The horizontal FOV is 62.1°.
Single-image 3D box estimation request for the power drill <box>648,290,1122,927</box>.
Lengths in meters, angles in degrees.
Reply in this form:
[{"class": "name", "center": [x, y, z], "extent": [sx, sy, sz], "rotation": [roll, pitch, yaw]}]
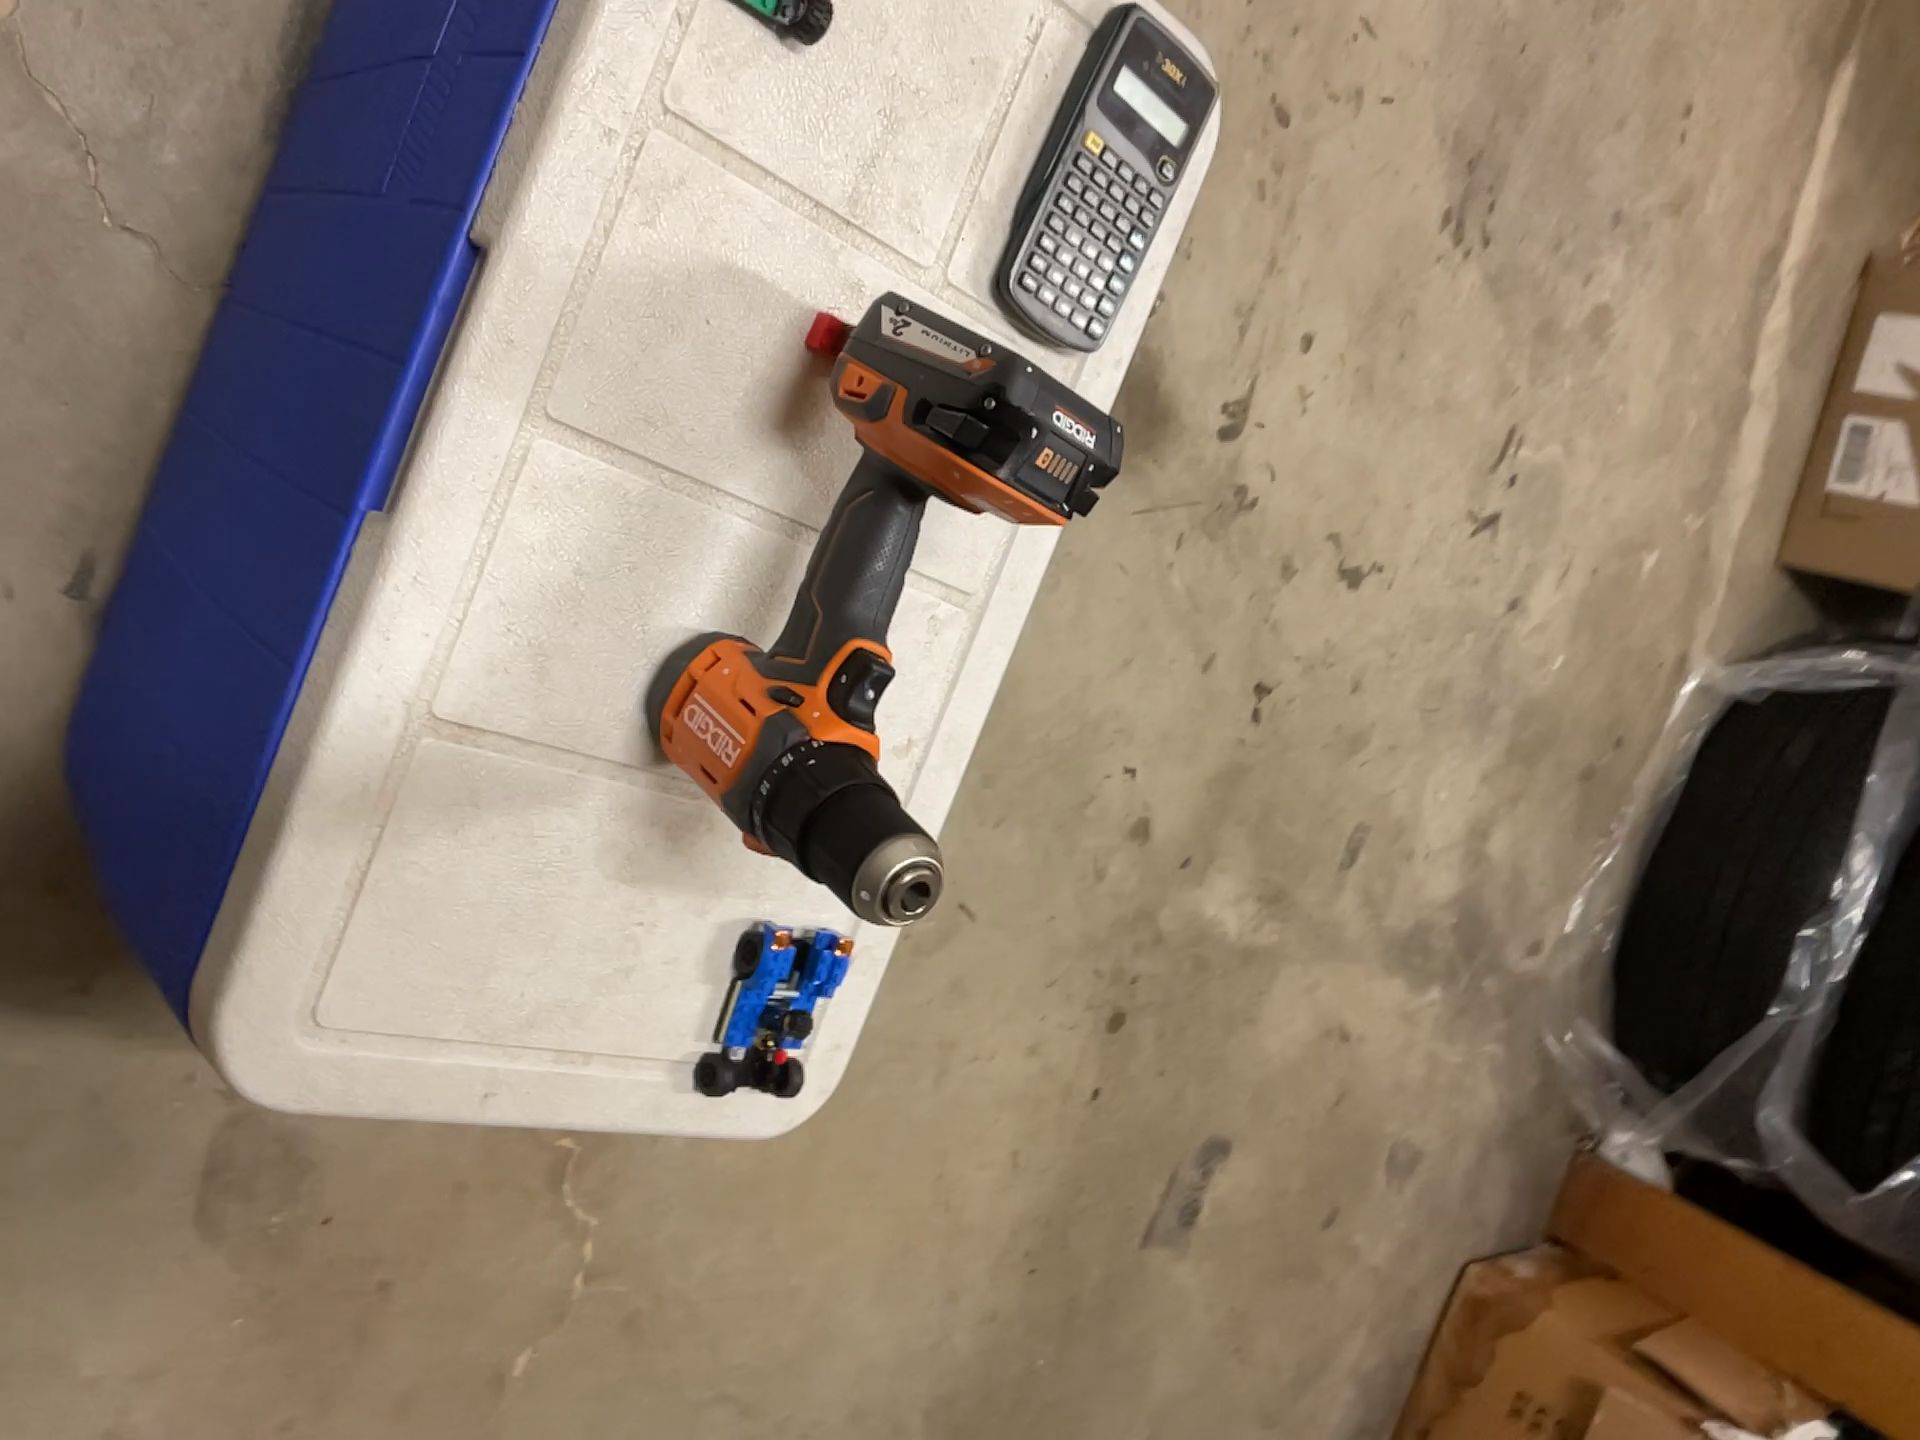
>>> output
[{"class": "power drill", "center": [-0.027, -0.042, 0.647], "extent": [0.084, 0.185, 0.226], "rotation": [24, 101, -43]}]
